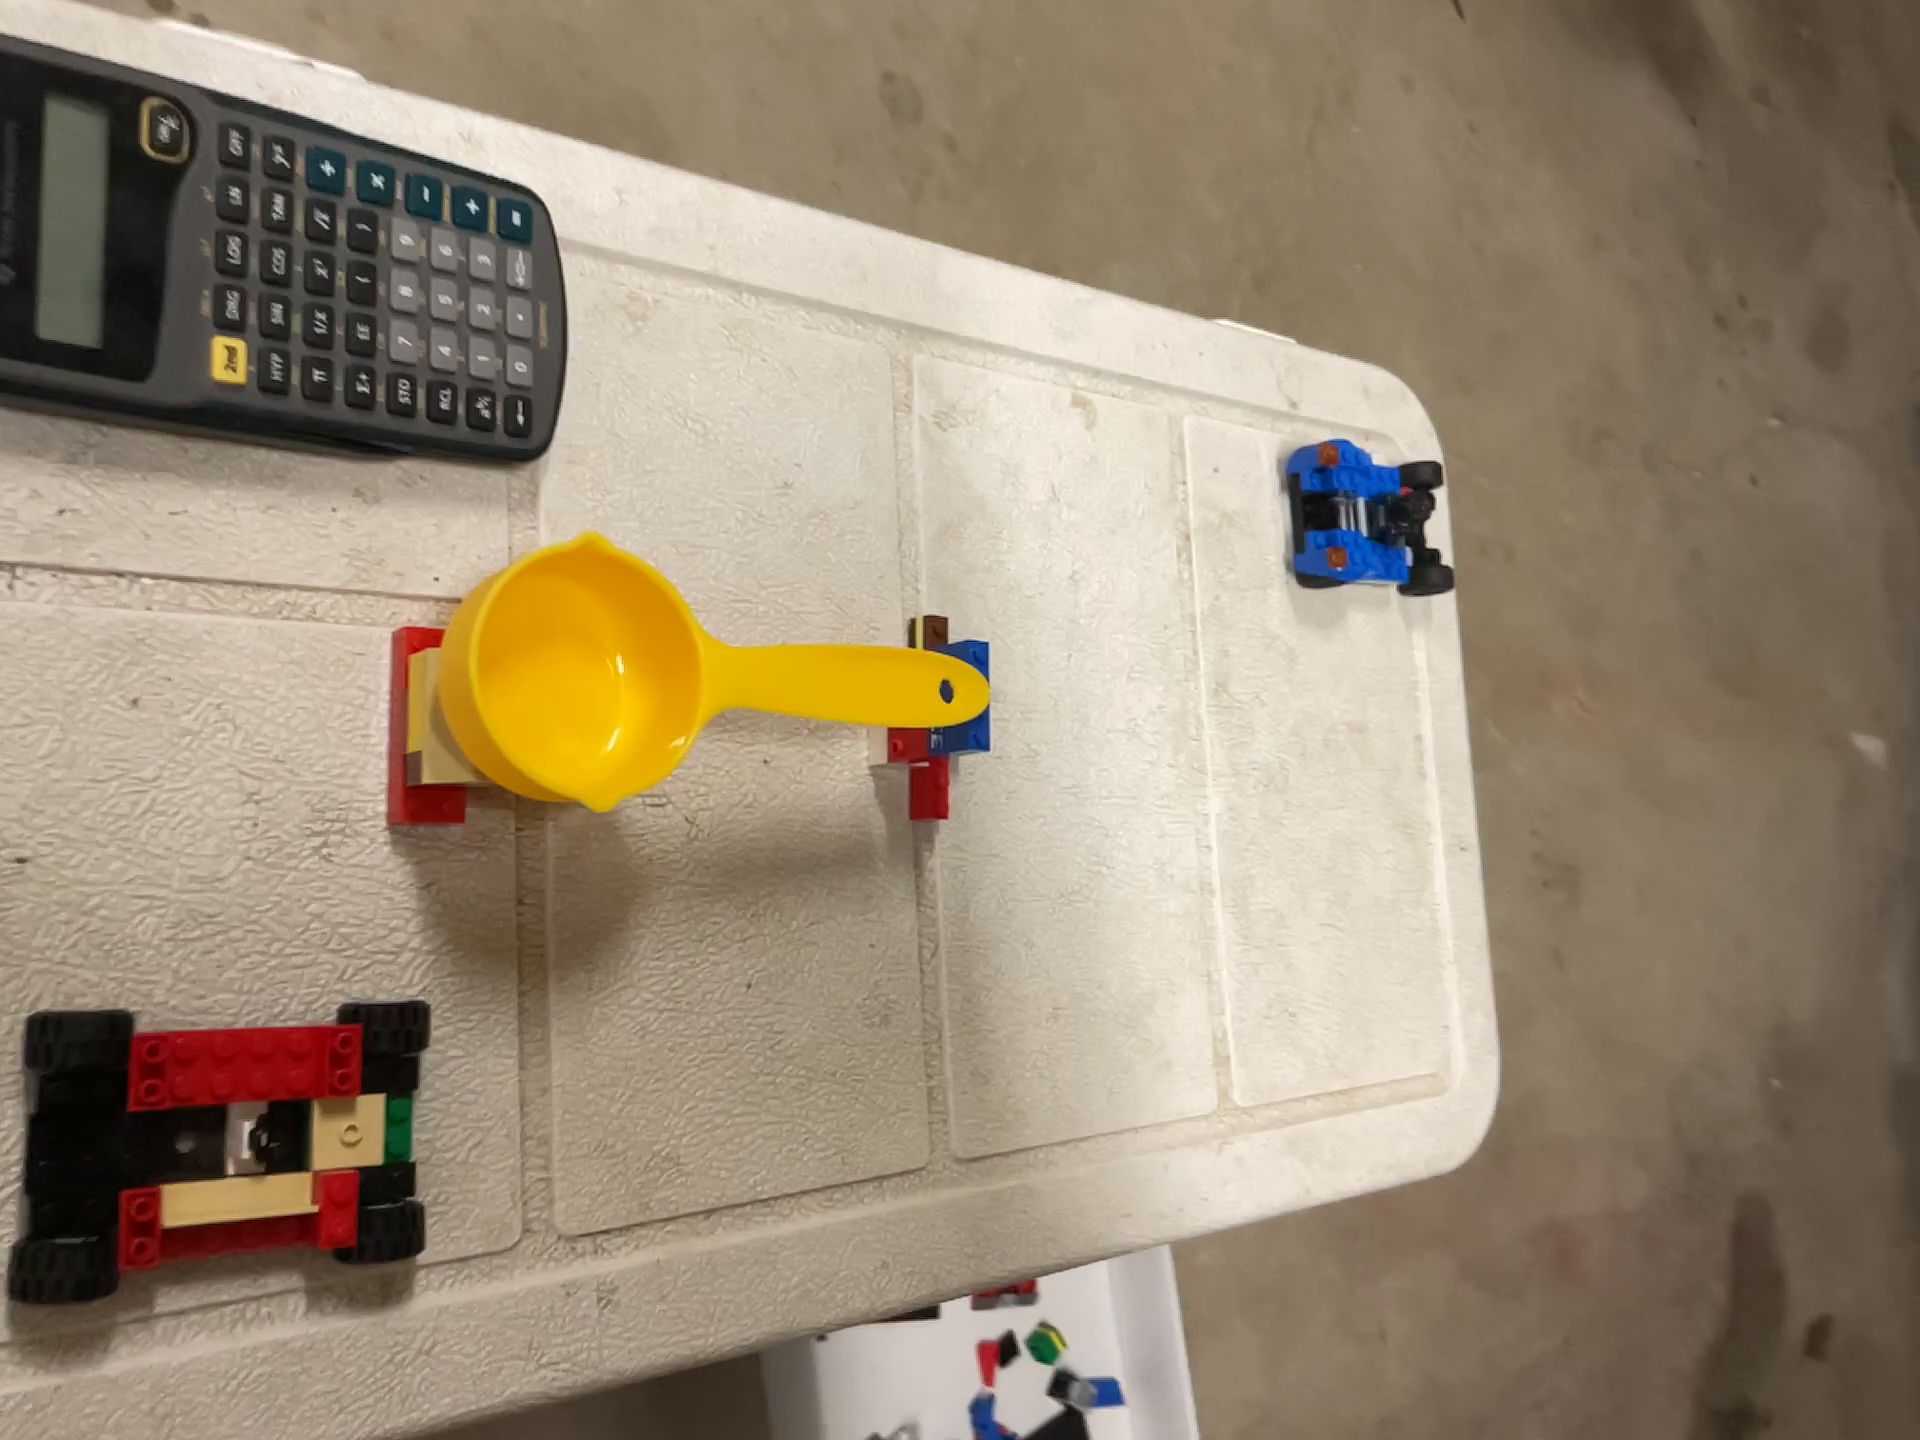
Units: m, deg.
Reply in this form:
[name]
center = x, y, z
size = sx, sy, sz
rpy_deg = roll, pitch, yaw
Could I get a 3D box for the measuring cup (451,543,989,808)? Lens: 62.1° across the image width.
[measuring cup]
center = -0.057, -0.007, 0.412
size = 0.156, 0.029, 0.062
rpy_deg = 3, 81, -43
